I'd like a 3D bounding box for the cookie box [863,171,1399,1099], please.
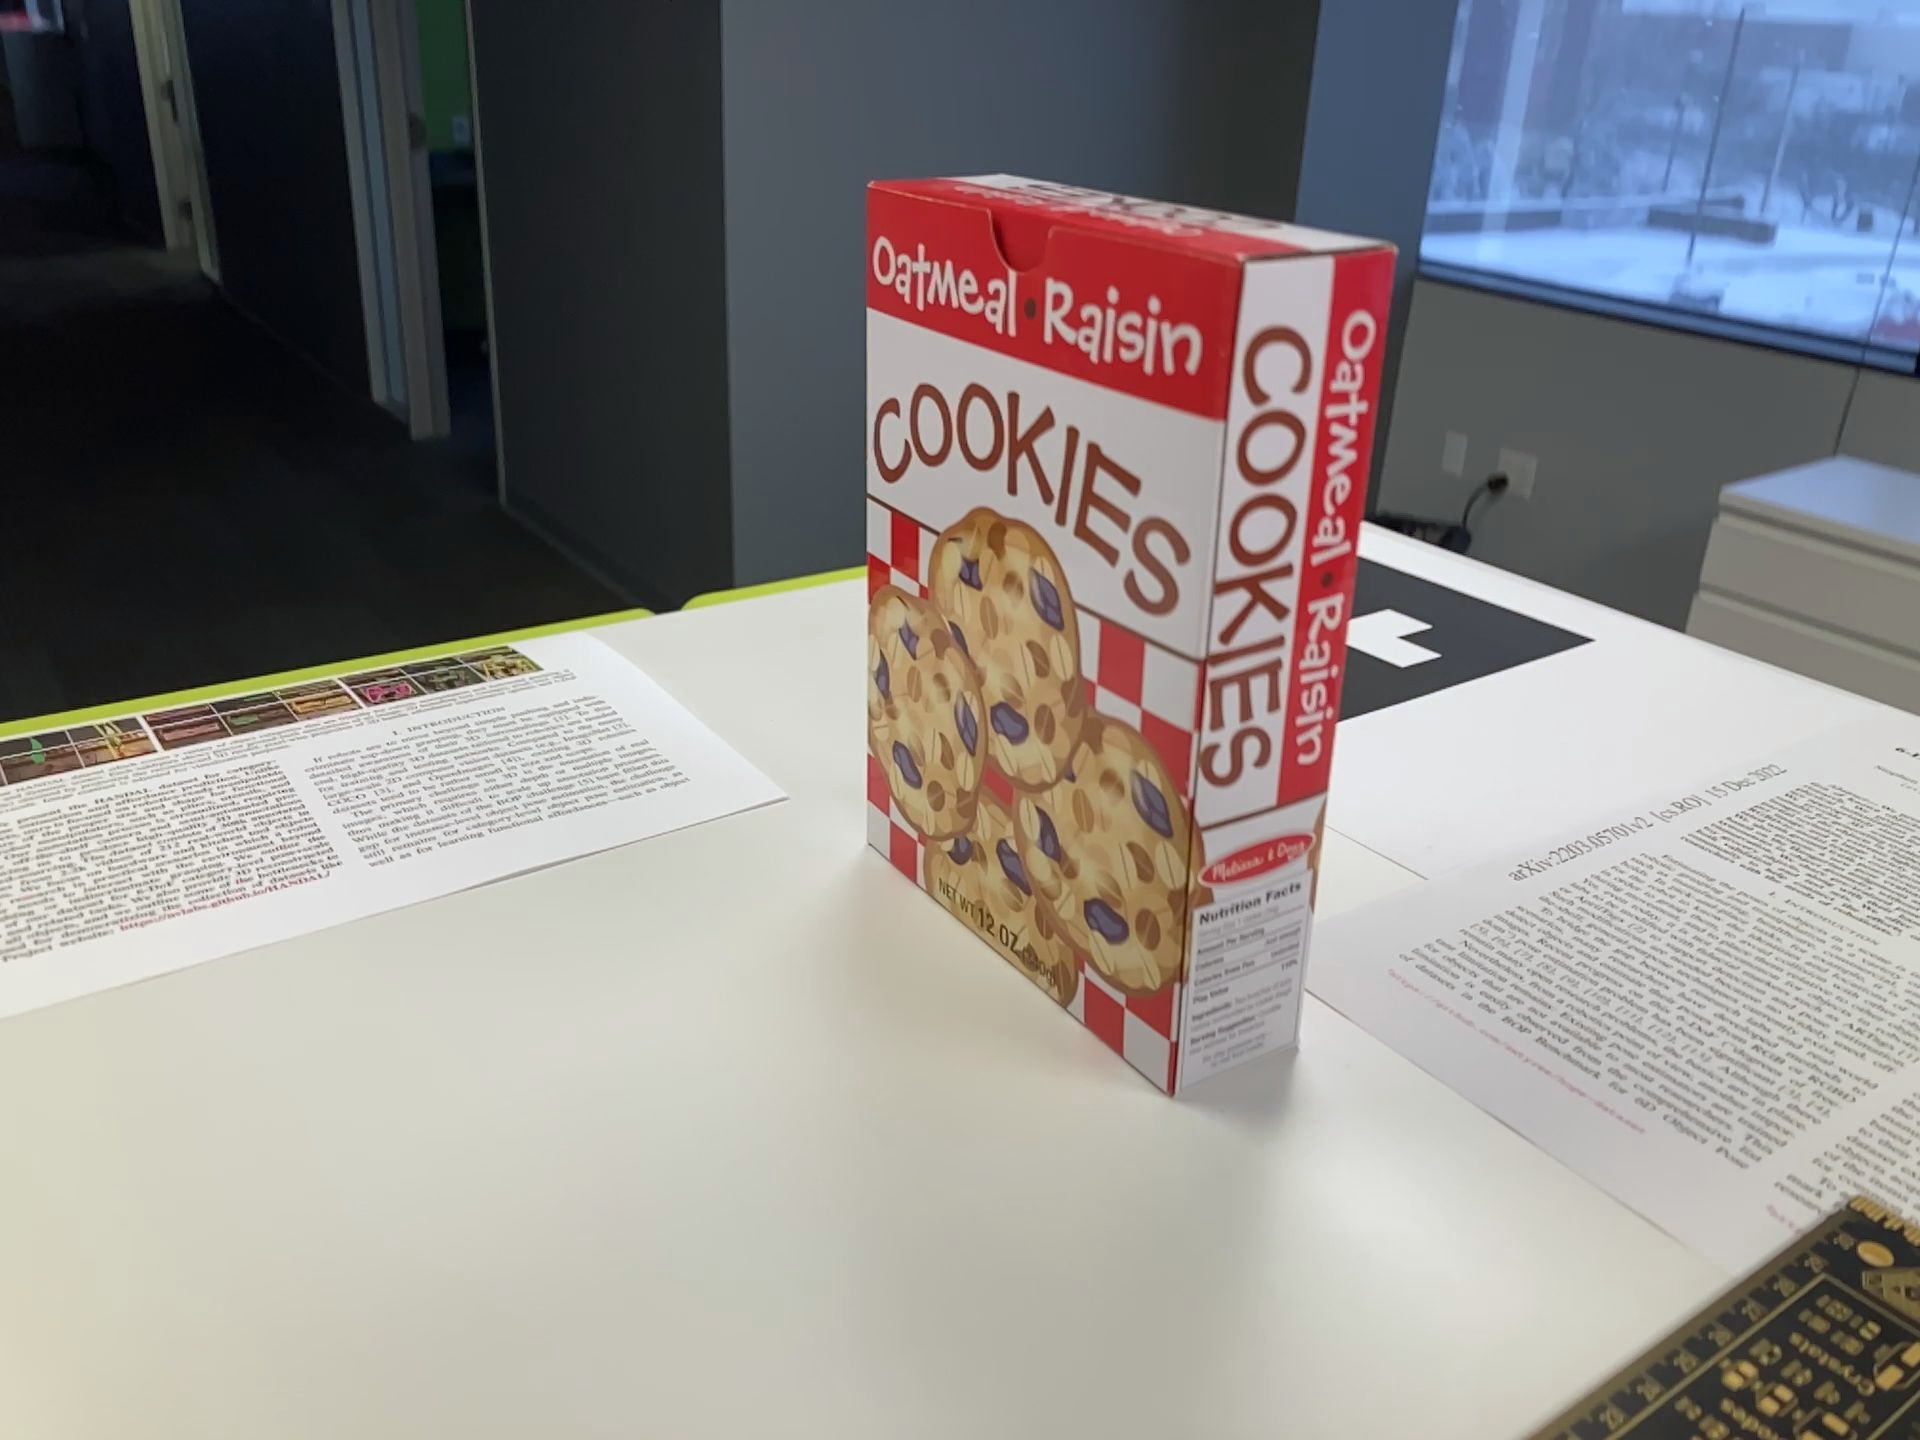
[{"bbox_3d":[0.024,-0.025,0.340,0.040,0.167,0.123,-13,28,-31],"label":"cookie box"}]
